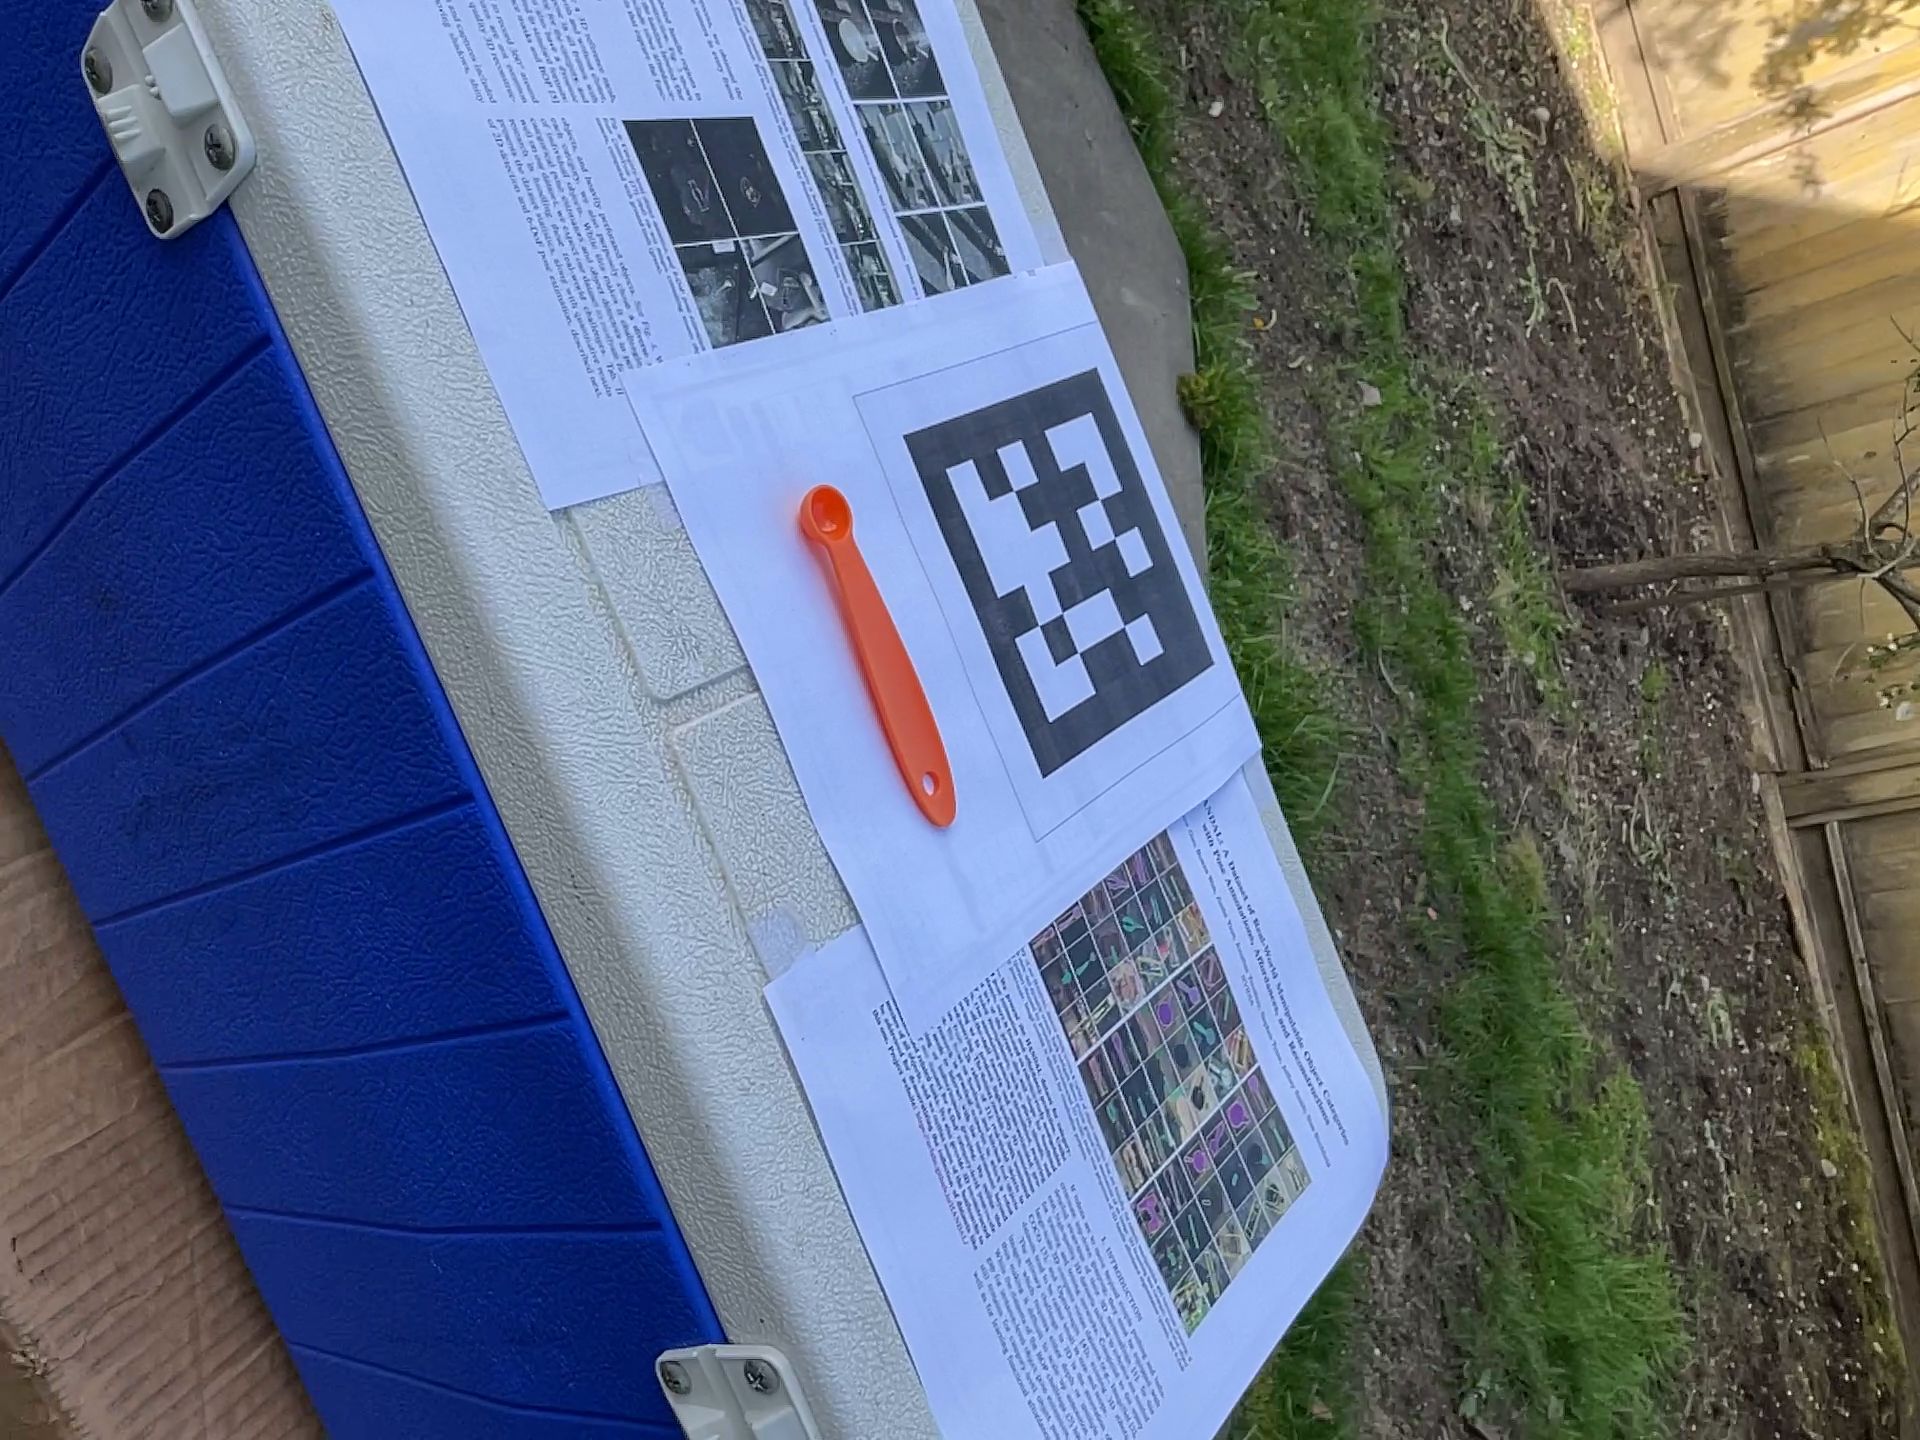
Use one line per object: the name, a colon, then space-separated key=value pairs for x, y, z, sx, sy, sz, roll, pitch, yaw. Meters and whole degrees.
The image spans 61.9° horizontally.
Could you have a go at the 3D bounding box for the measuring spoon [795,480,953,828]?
measuring spoon: x=-0.027 y=-0.019 z=0.506 sx=0.021 sy=0.011 sz=0.117 roll=-33 pitch=106 yaw=-49
